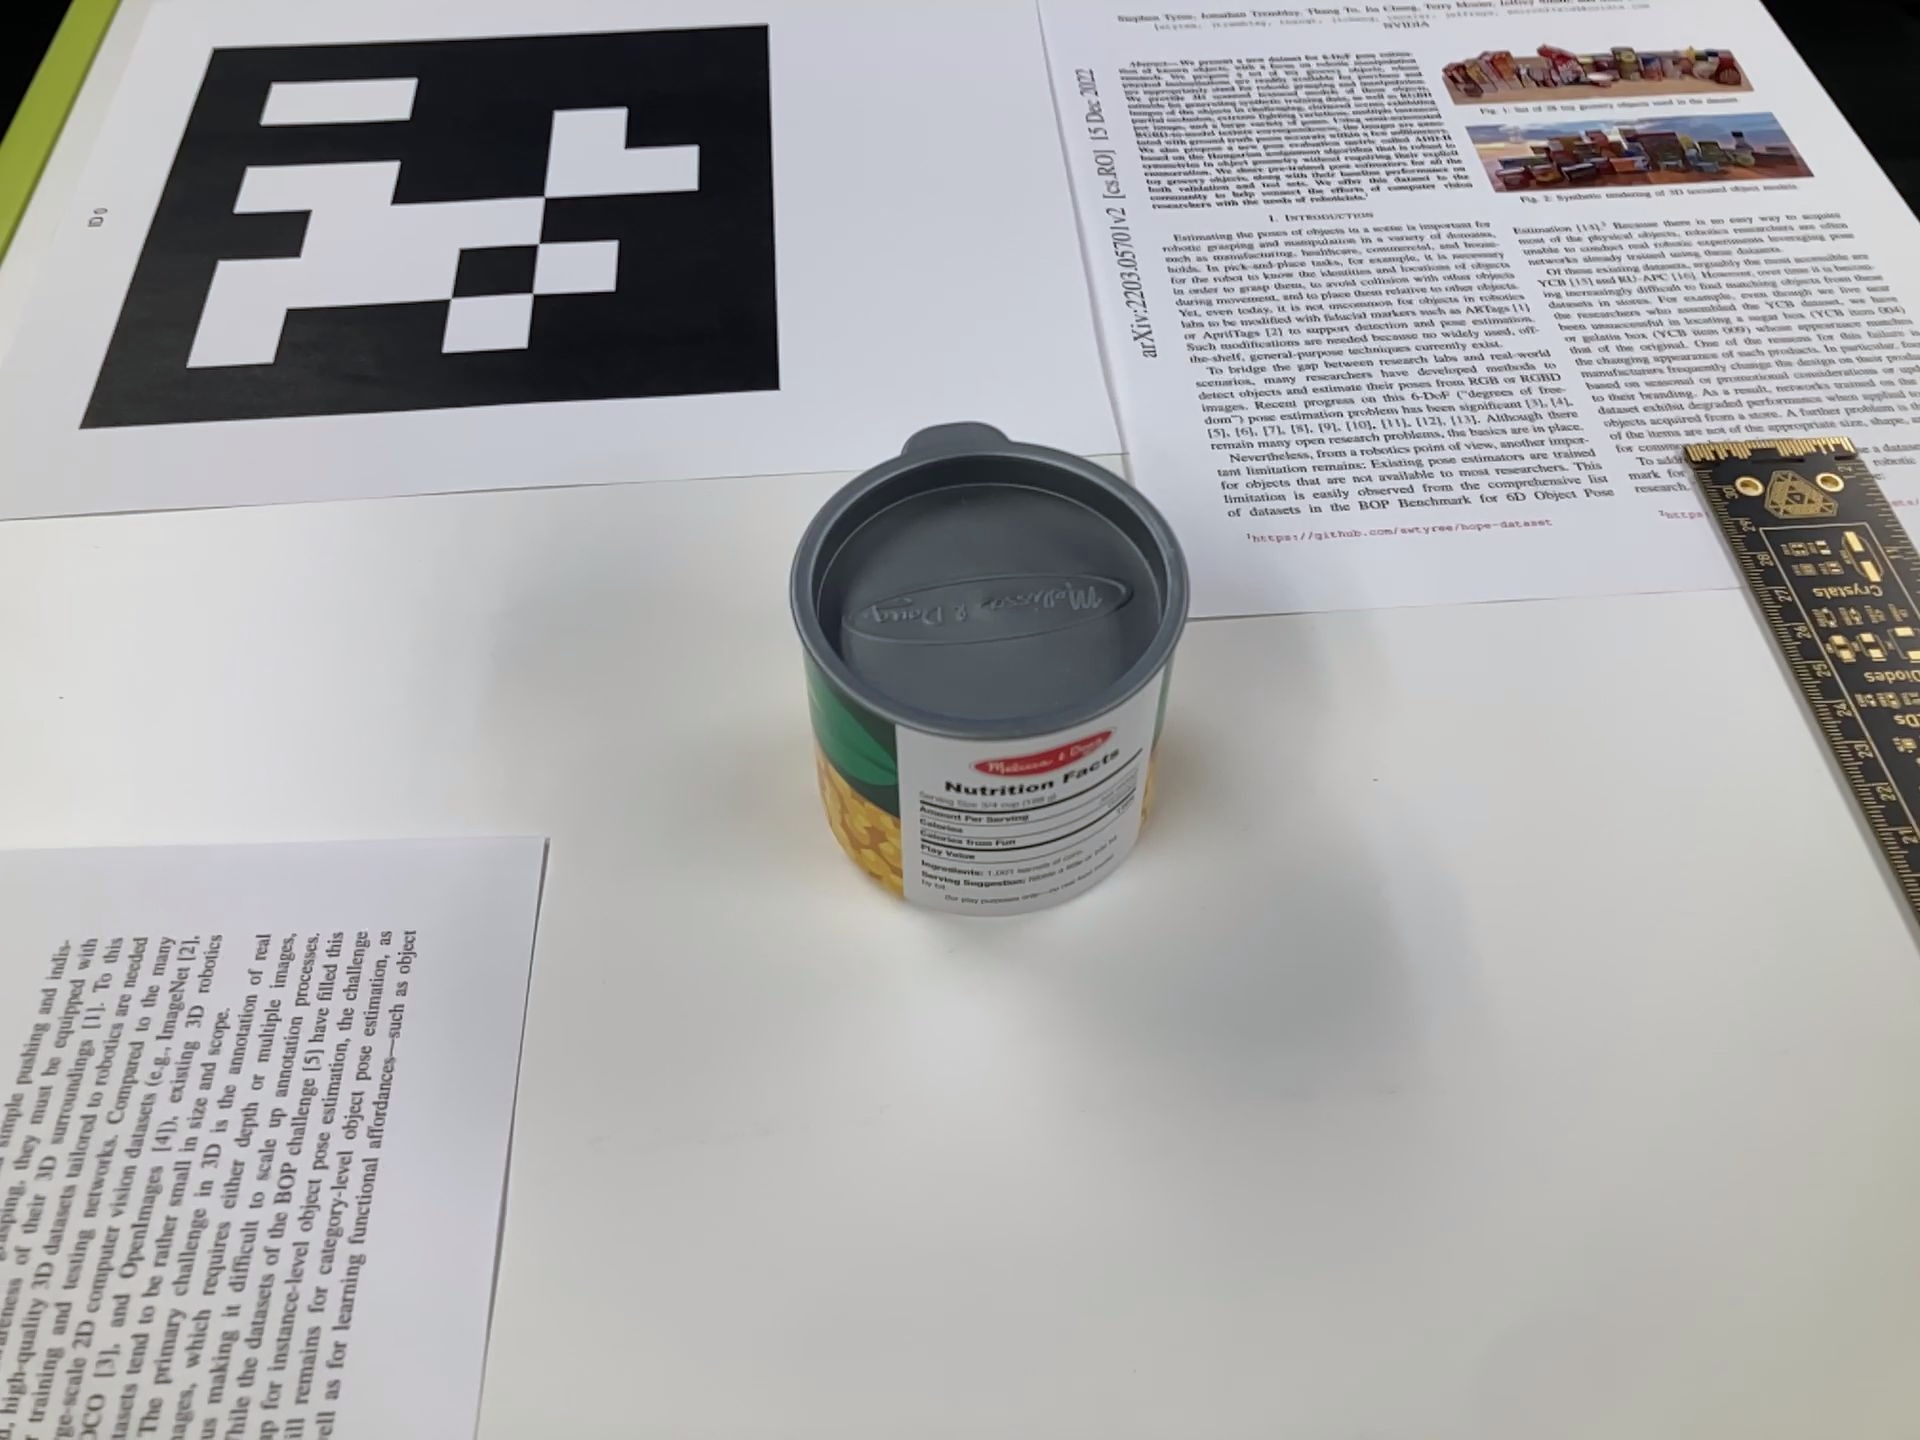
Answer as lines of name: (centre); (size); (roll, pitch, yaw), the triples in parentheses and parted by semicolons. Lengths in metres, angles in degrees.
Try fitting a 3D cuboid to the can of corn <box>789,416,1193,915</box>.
can of corn: (0.005, -0.009, 0.285); (0.071, 0.058, 0.071); (0, 52, 0)
